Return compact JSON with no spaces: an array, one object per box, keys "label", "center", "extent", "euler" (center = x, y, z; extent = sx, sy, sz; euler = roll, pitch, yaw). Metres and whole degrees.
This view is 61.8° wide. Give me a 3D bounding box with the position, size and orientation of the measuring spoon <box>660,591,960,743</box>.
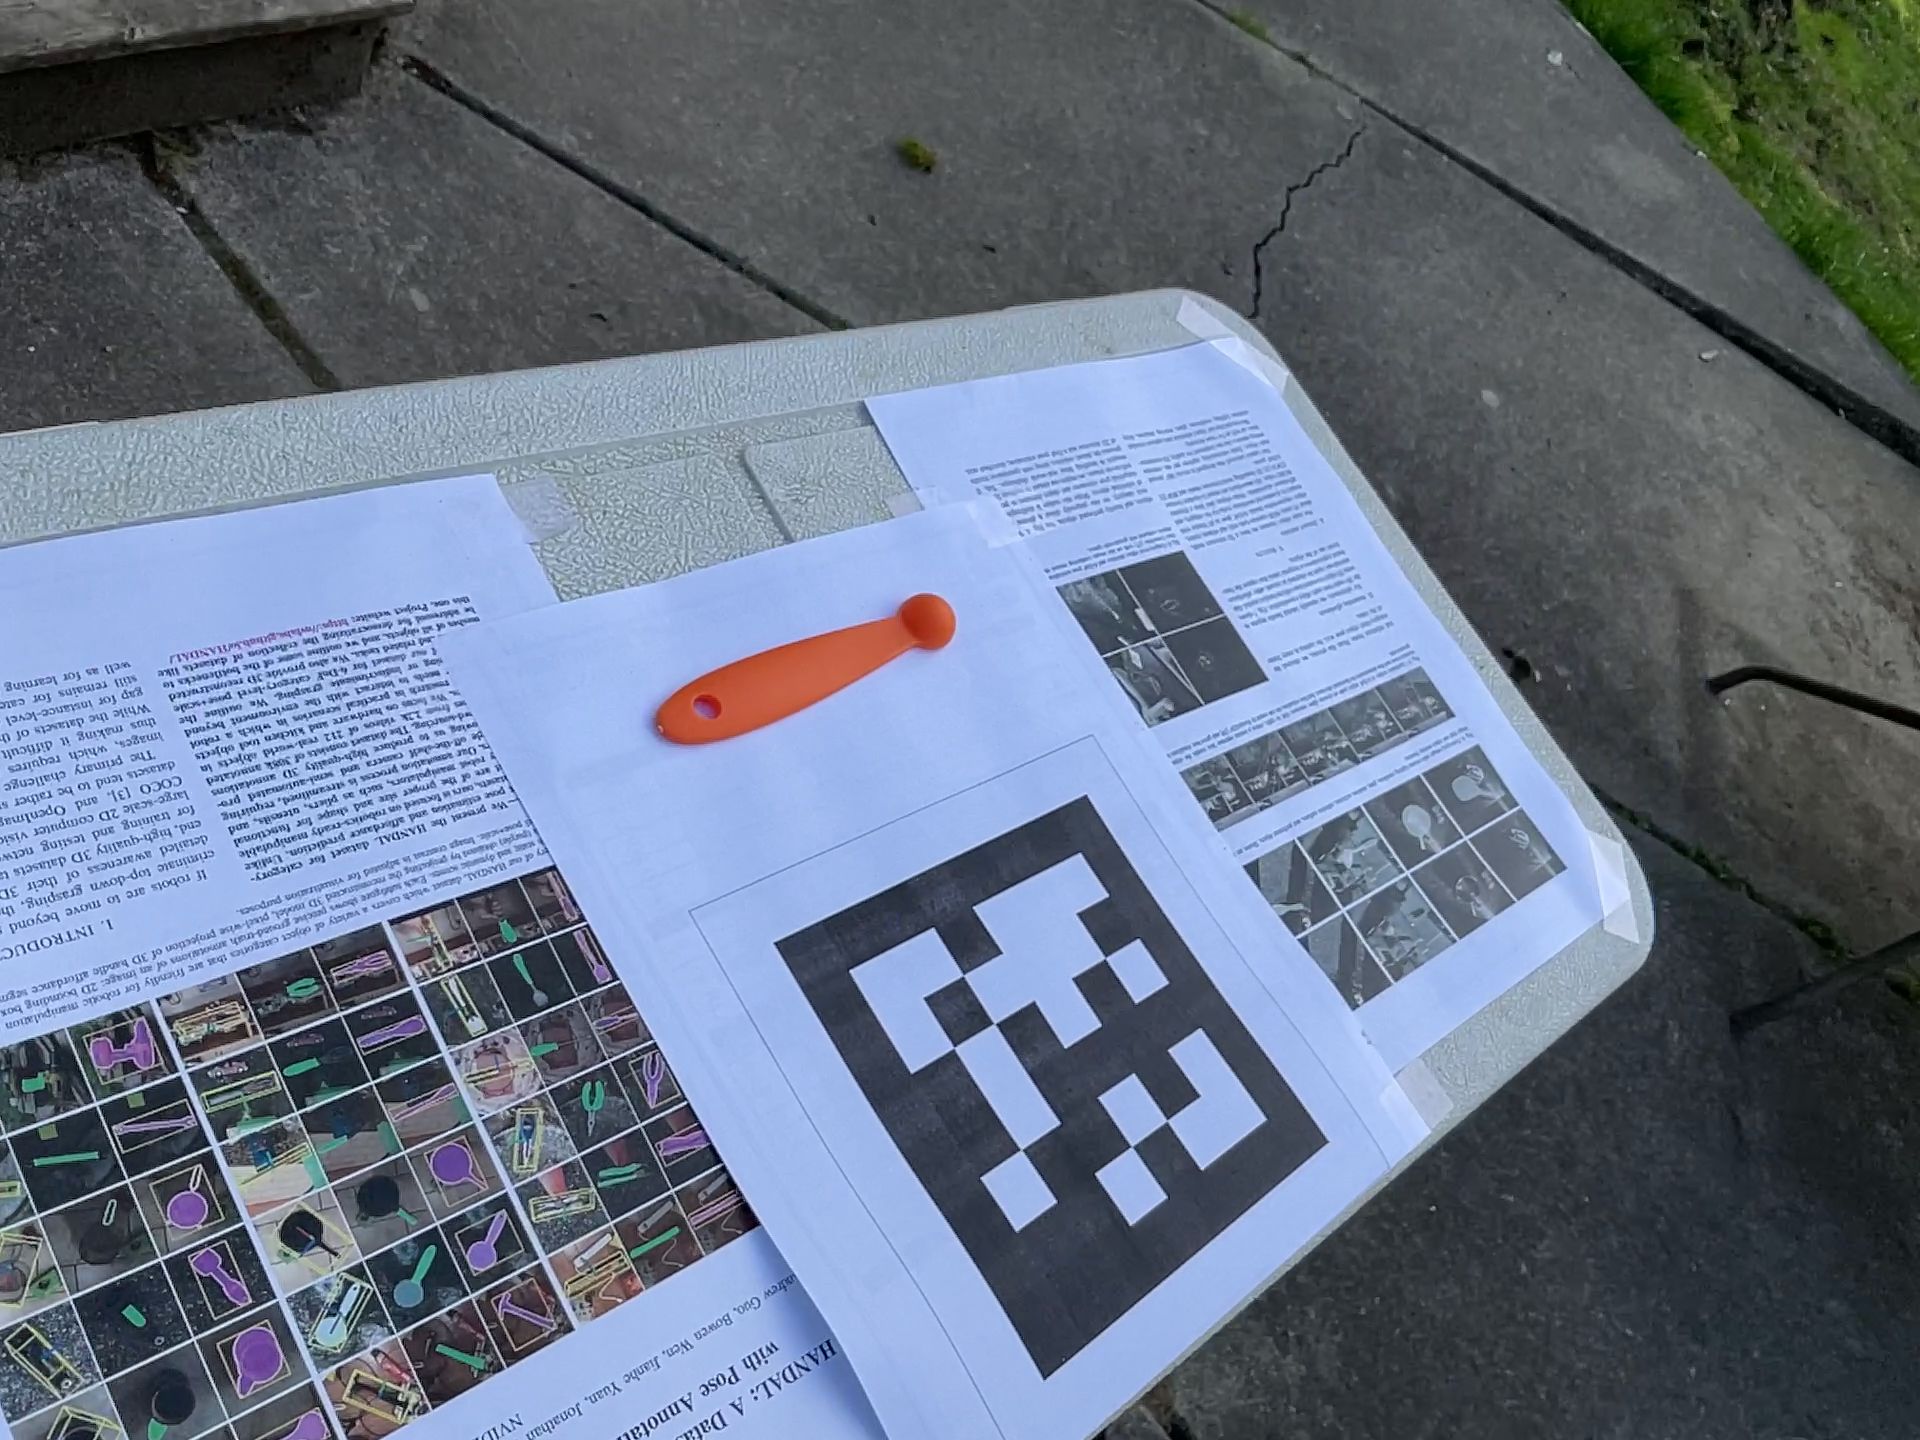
[{"label":"measuring spoon","center":[-0.041,-0.018,0.477],"extent":[0.117,0.011,0.021],"euler":[-25,71,-42]}]
